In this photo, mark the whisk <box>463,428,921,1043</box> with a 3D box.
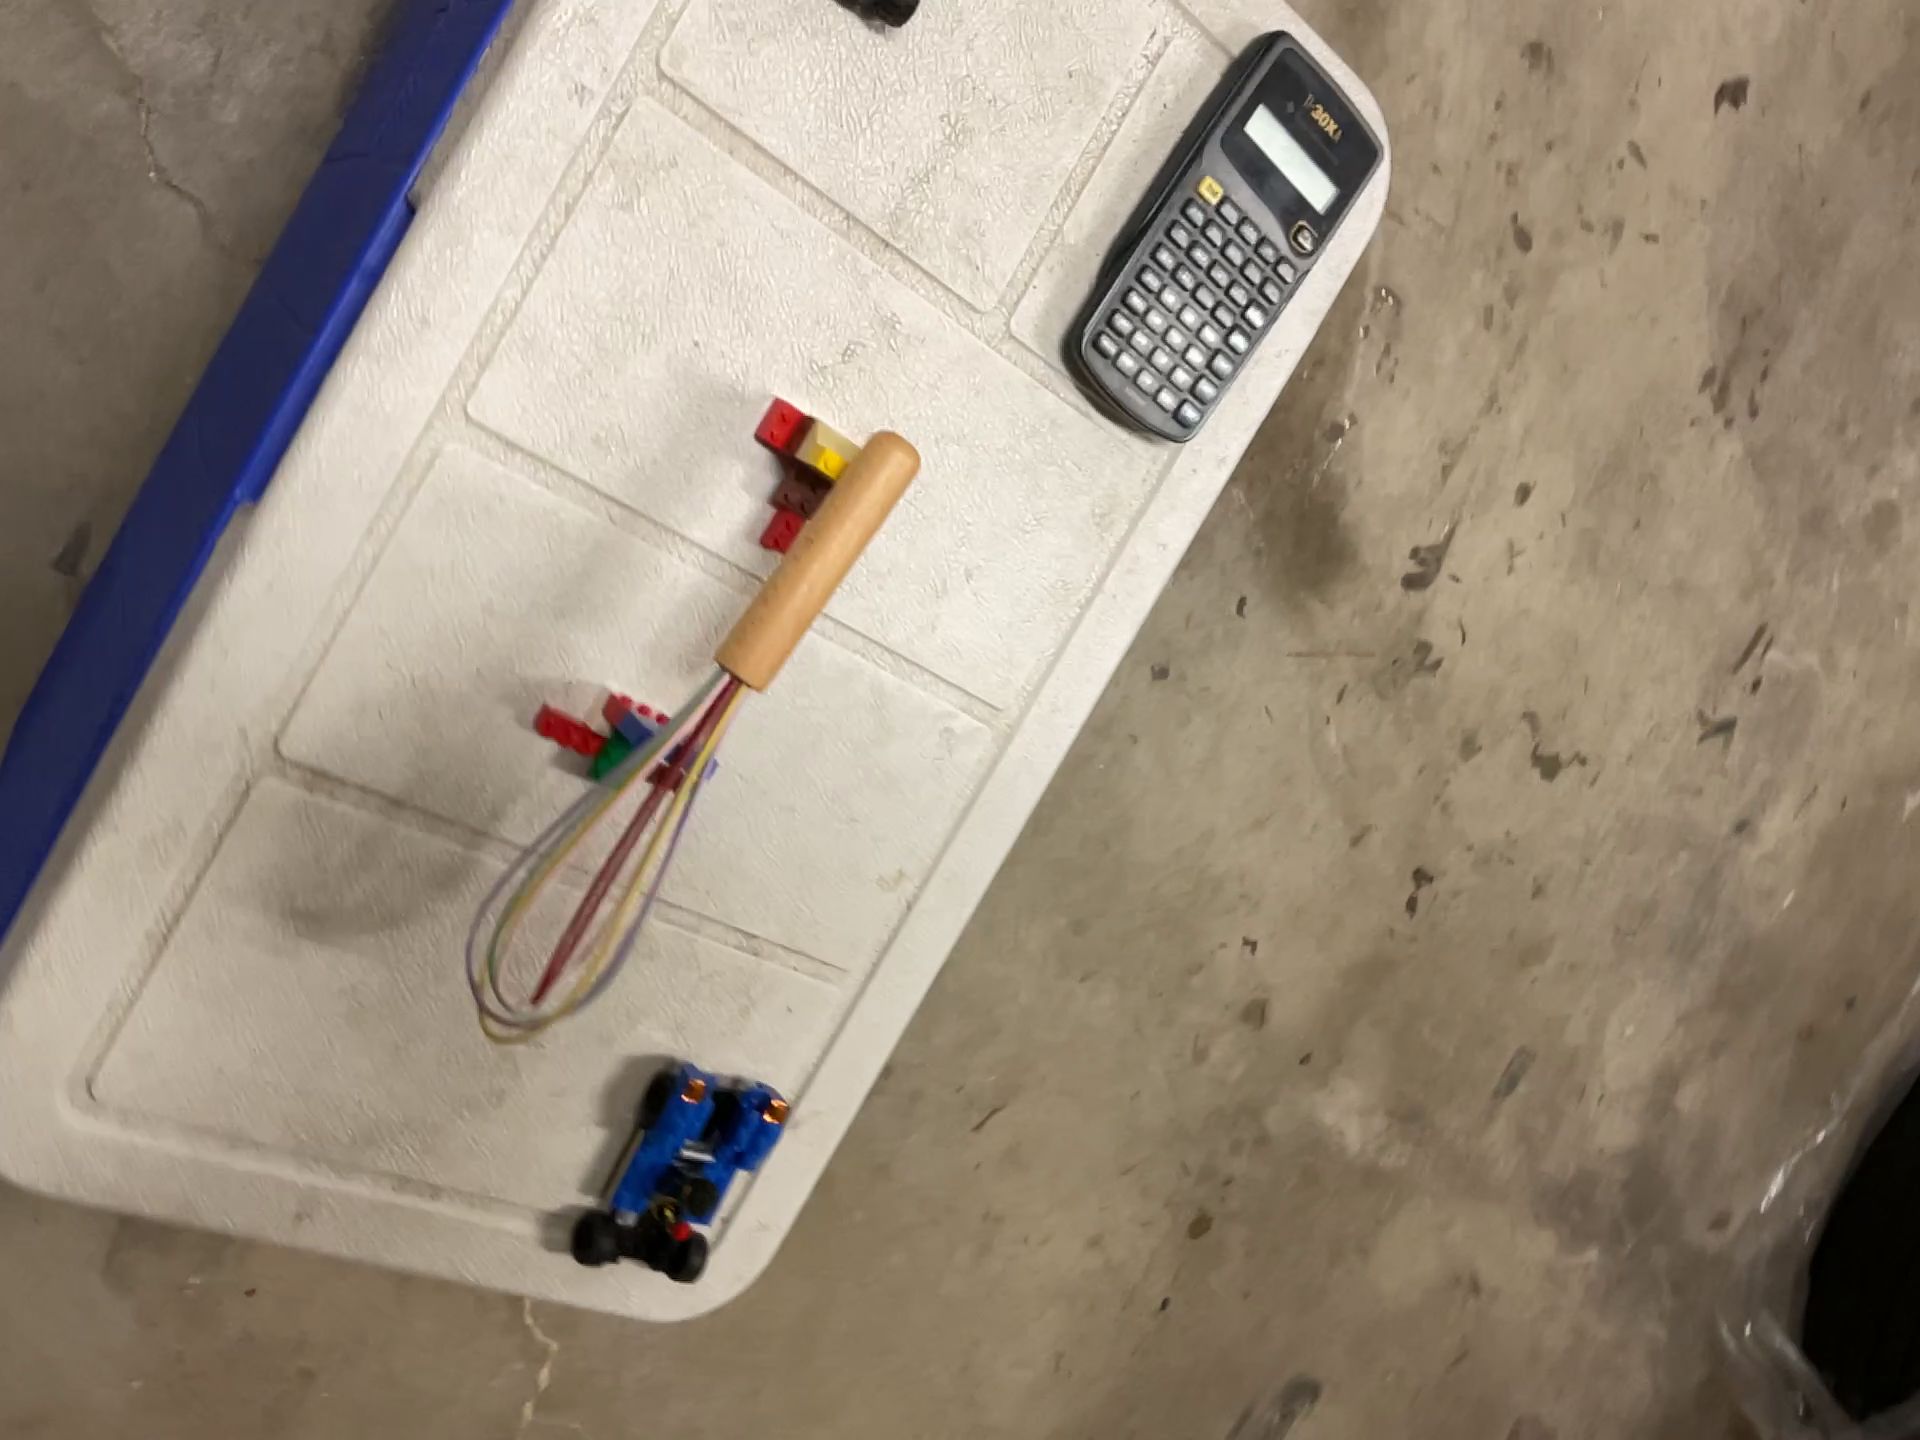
[{"bbox_3d":[-0.086,0.005,0.542,0.051,0.047,0.245,36,86,-22],"label":"whisk"}]
